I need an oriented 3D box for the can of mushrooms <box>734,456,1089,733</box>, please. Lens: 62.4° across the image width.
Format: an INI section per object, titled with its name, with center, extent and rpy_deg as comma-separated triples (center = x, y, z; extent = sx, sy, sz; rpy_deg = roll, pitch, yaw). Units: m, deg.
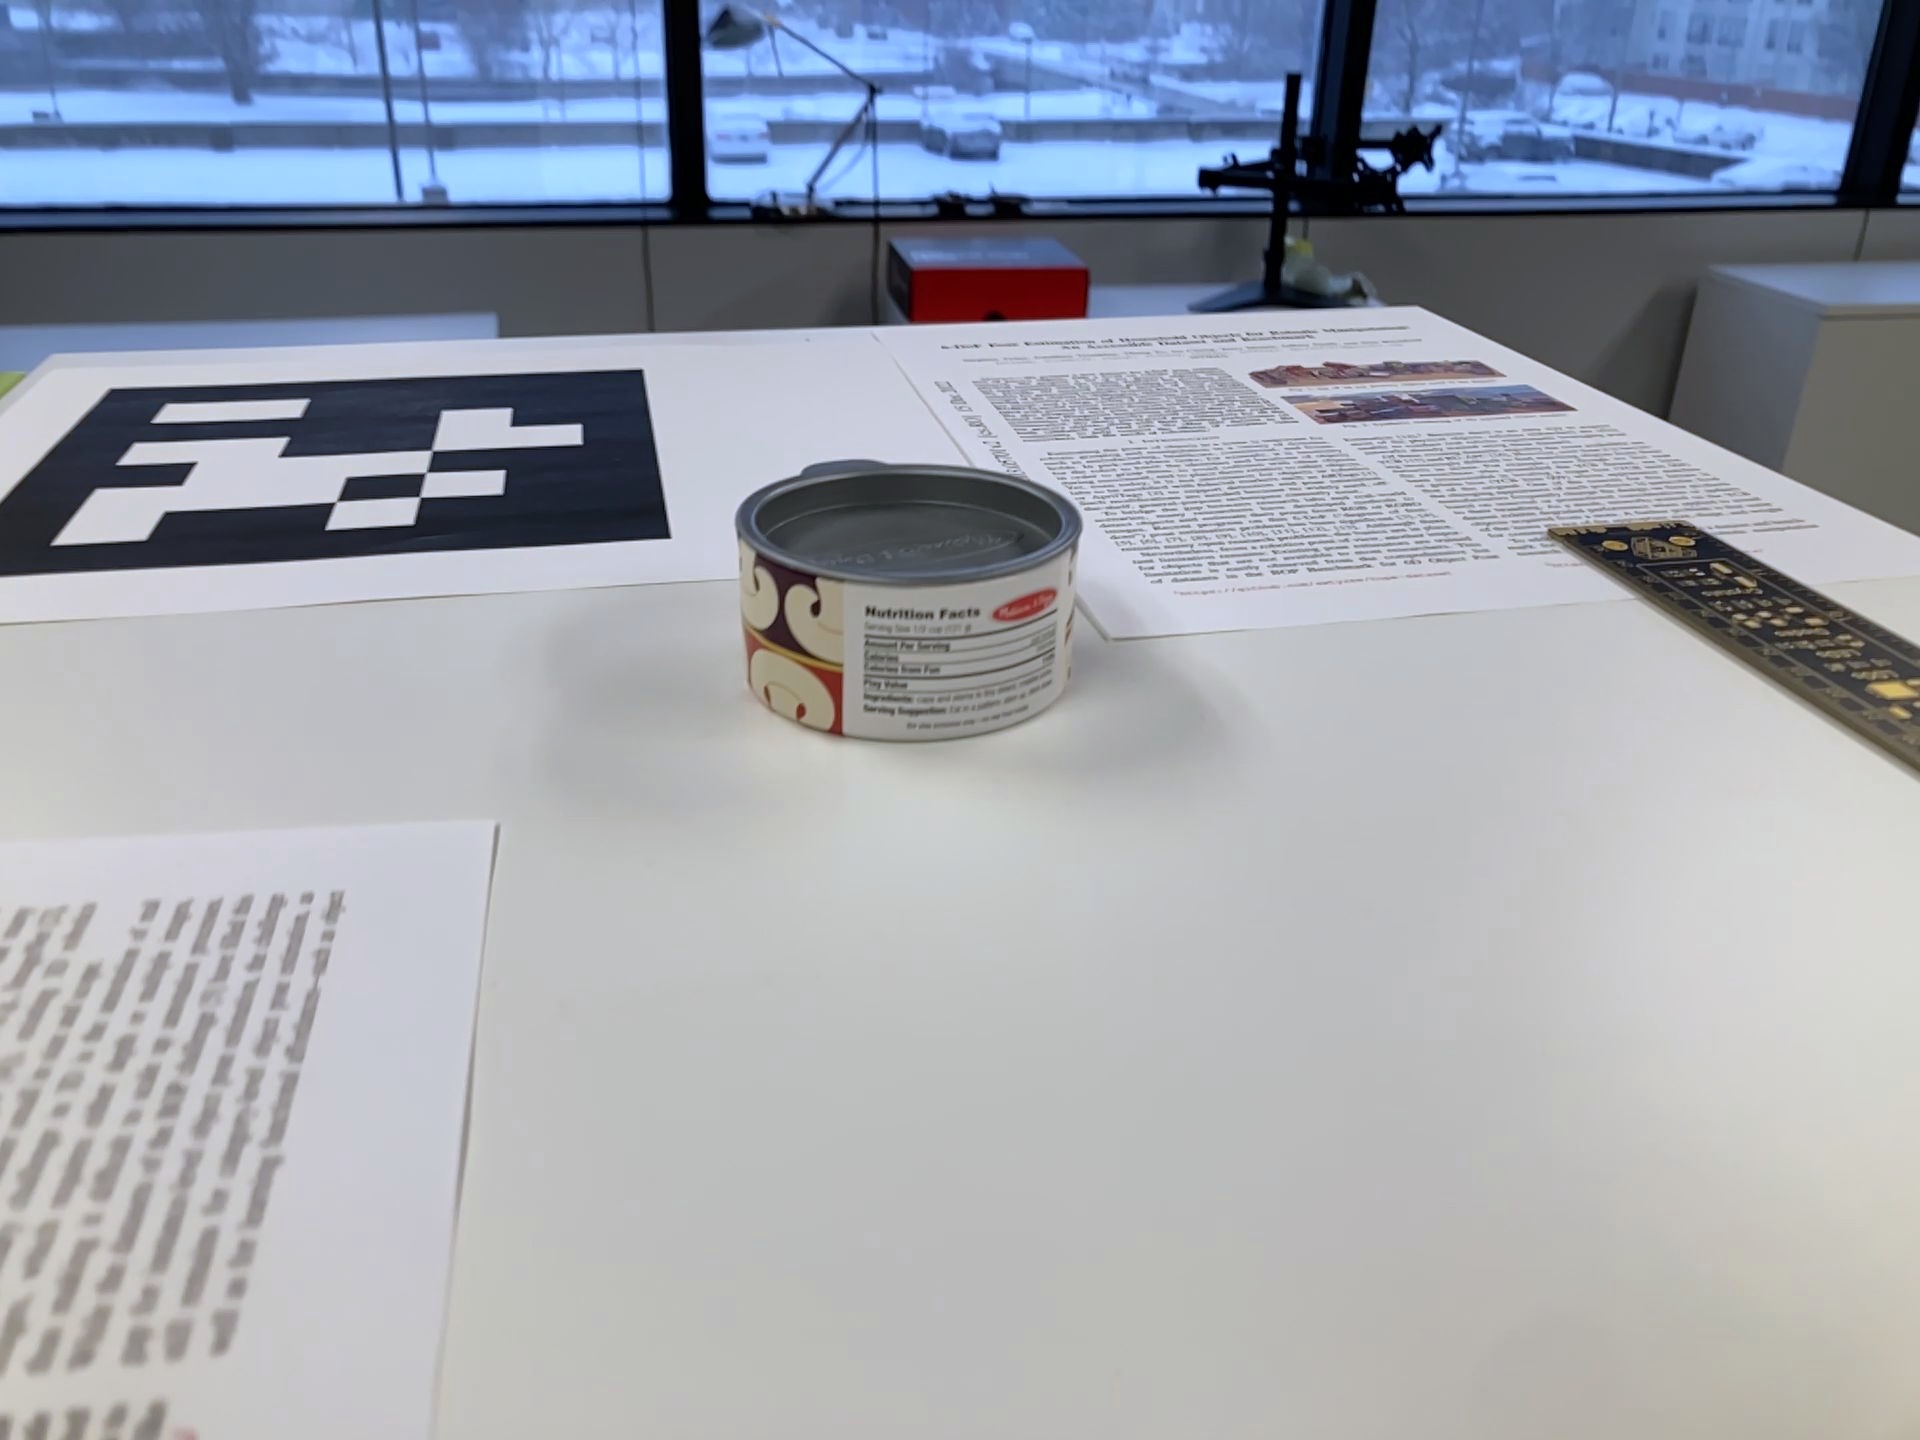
[can of mushrooms]
center = -0.010, -0.027, 0.307
extent = 0.071, 0.033, 0.071
rpy_deg = 0, 26, 0
